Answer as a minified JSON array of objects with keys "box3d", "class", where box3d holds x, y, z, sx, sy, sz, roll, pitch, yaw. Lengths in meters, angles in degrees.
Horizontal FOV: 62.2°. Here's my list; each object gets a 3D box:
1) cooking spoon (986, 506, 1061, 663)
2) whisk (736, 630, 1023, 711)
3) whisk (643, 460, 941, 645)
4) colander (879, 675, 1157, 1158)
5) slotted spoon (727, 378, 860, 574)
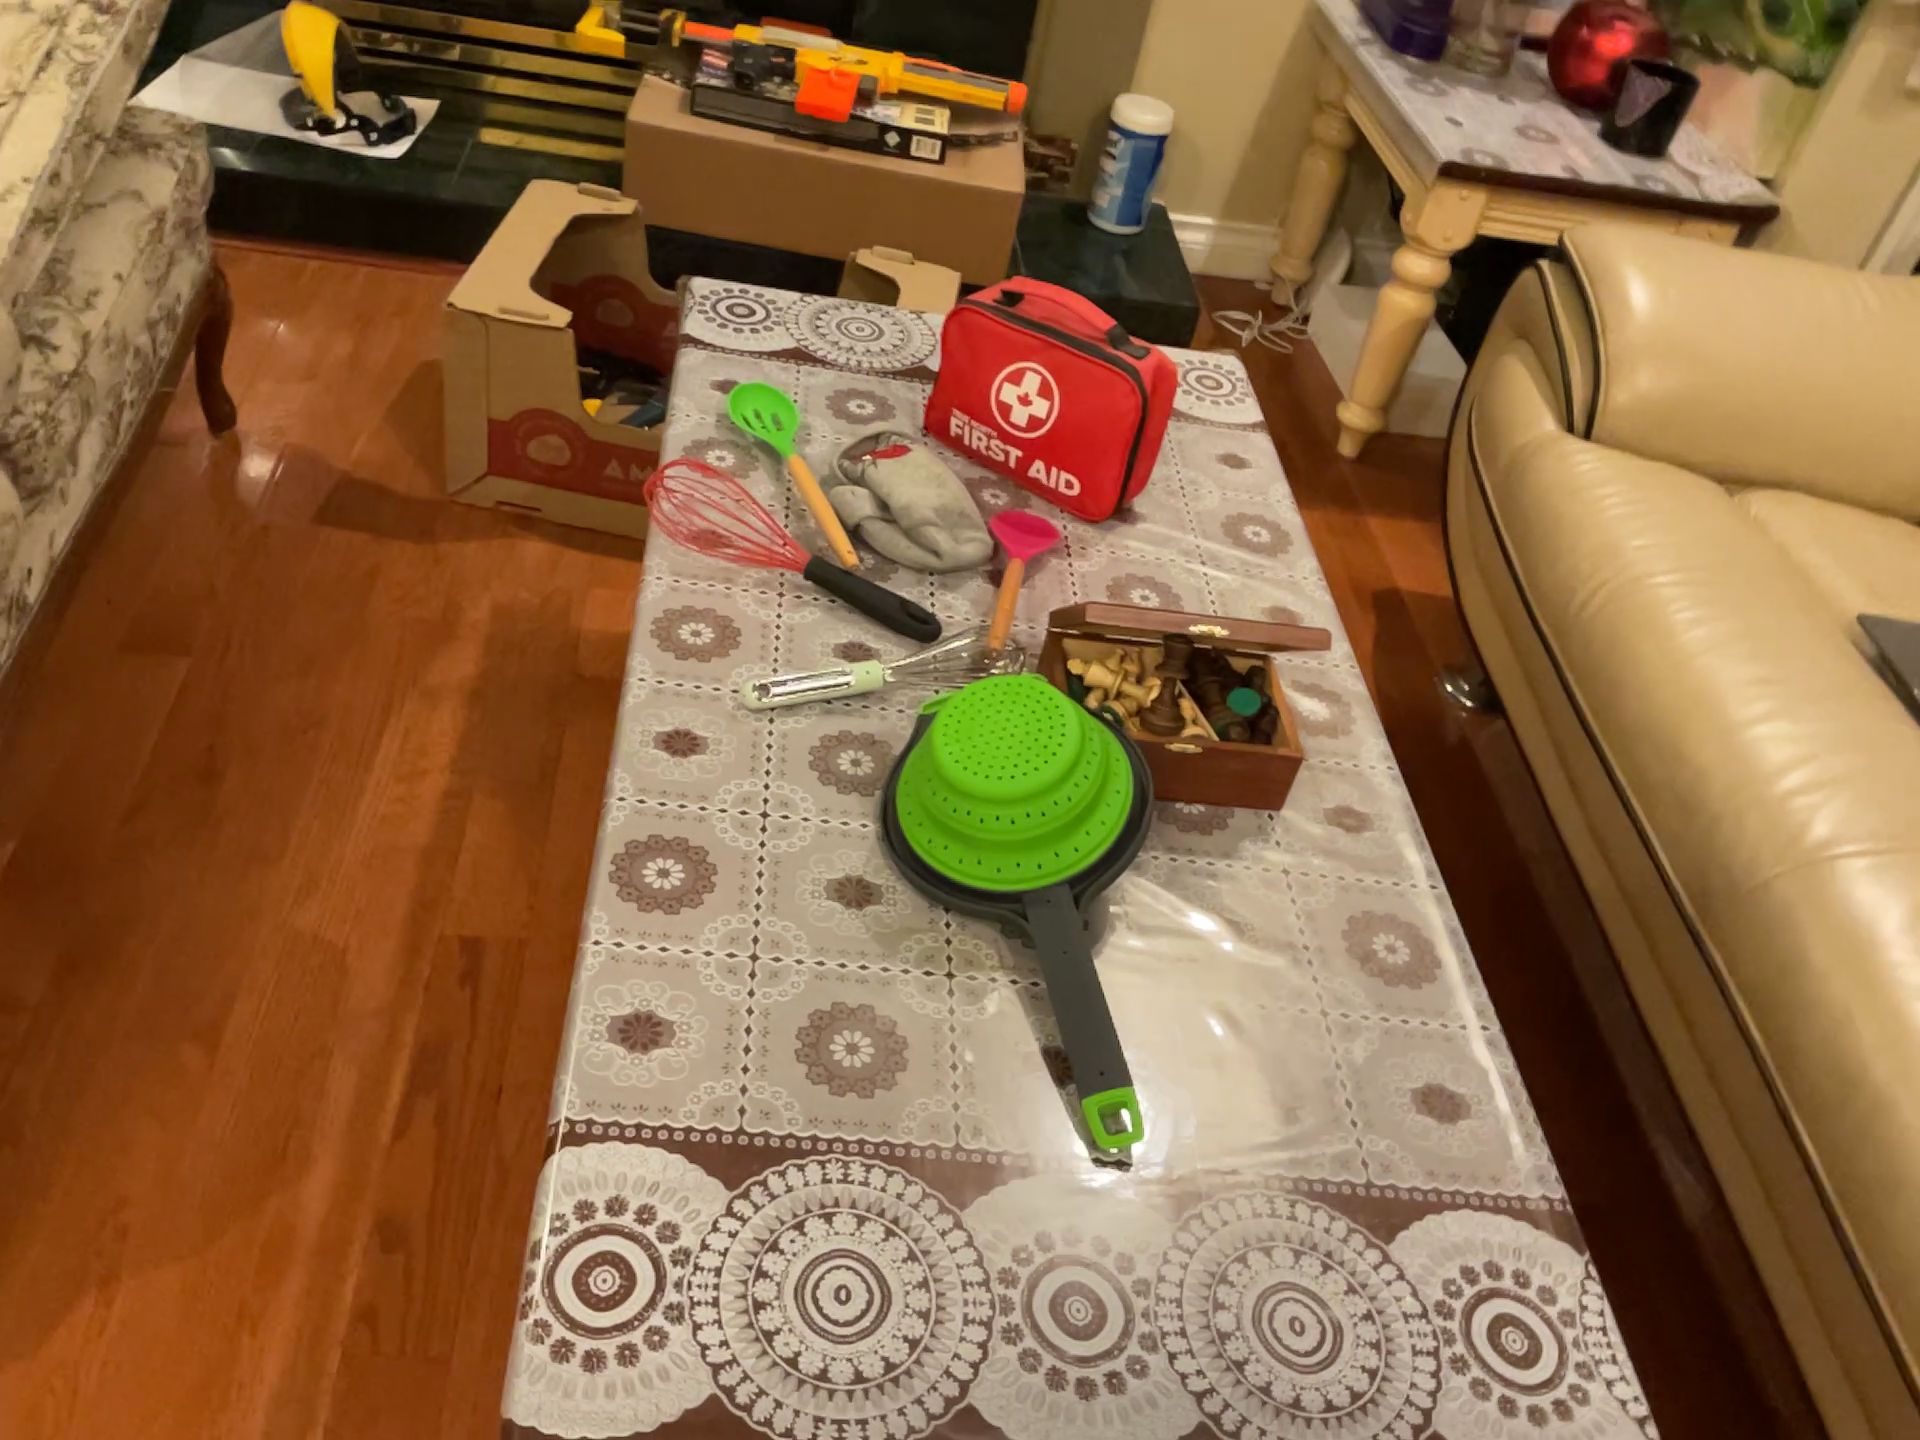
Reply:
[{"box3d":[0.046,-0.125,1.389,0.069,0.017,0.319,13,29,1],"class":"cooking spoon"},{"box3d":[-0.060,-0.033,1.281,0.246,0.059,0.058,-9,3,-22],"class":"whisk"},{"box3d":[-0.145,-0.142,1.369,0.296,0.073,0.073,30,36,8],"class":"whisk"},{"box3d":[0.054,0.099,1.083,0.204,0.094,0.398,-14,51,-2],"class":"colander"},{"box3d":[-0.149,-0.227,1.468,0.070,0.031,0.314,-6,41,-23],"class":"slotted spoon"}]
